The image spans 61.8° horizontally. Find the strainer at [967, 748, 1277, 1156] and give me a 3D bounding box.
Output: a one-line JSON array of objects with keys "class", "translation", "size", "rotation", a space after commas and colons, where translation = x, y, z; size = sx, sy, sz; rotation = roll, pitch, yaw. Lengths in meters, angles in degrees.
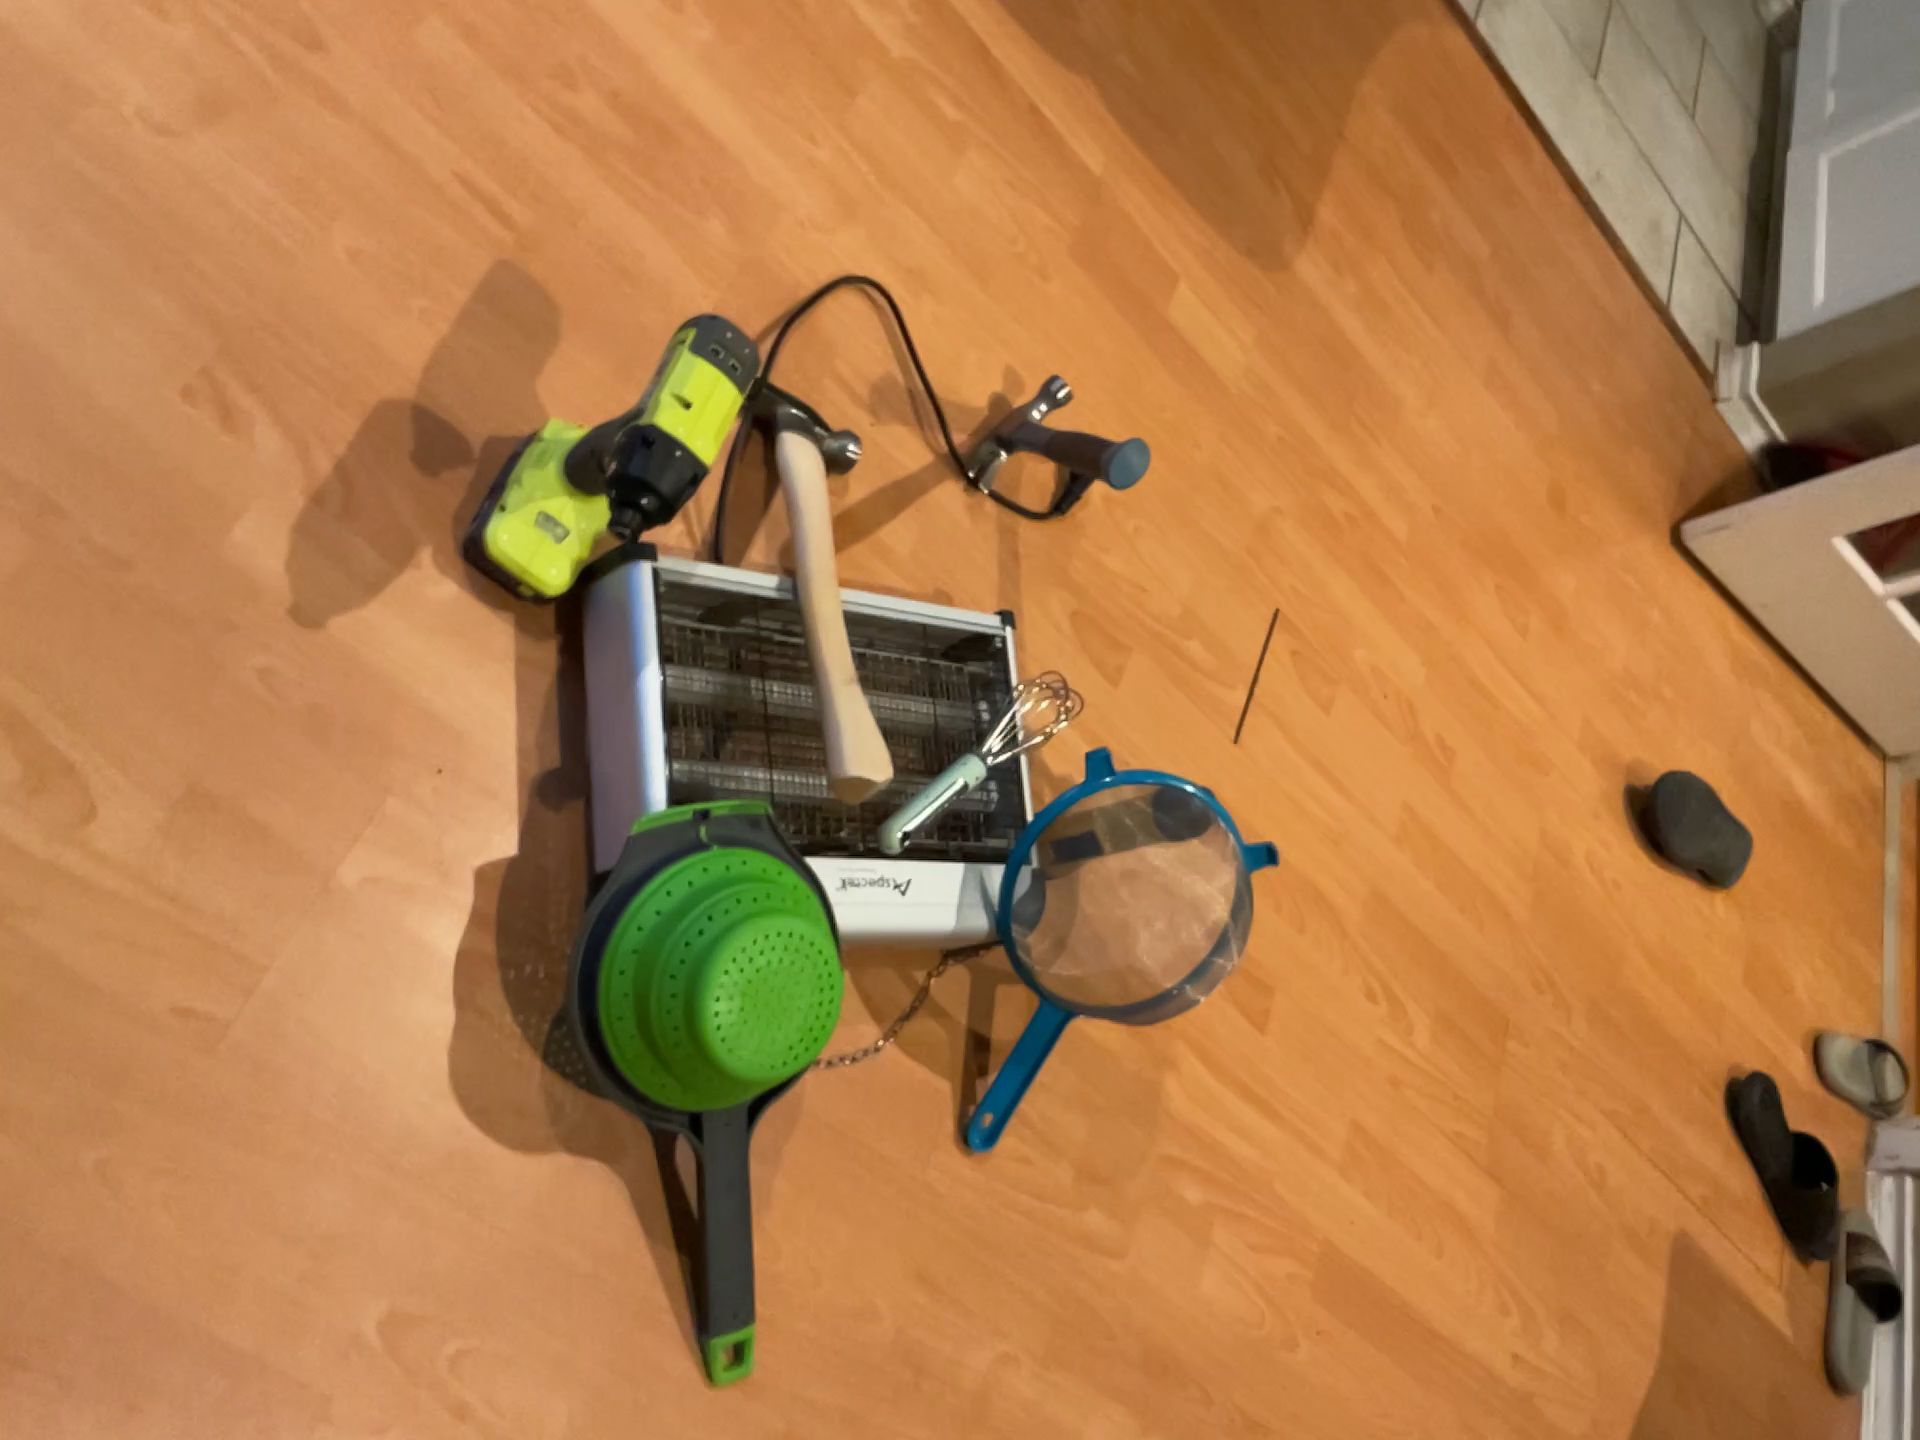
[{"class": "strainer", "translation": [0.109, 0.206, 1.242], "size": [0.211, 0.095, 0.340], "rotation": [29, 94, -21]}]

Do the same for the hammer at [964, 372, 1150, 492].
[{"class": "hammer", "translation": [0.087, -0.235, 1.360], "size": [0.128, 0.331, 0.033], "rotation": [-42, 111, -1]}]

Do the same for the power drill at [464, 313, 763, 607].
[{"class": "power drill", "translation": [-0.236, -0.163, 1.074], "size": [0.080, 0.223, 0.171], "rotation": [38, 54, -28]}]

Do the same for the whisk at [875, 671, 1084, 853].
[{"class": "whisk", "translation": [0.016, 0.033, 1.258], "size": [0.246, 0.059, 0.057], "rotation": [-39, 133, -40]}]

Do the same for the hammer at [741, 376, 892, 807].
[{"class": "hammer", "translation": [-0.115, -0.108, 1.193], "size": [0.146, 0.038, 0.411], "rotation": [25, 37, -36]}]

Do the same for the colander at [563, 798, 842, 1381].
[{"class": "colander", "translation": [-0.142, 0.254, 1.053], "size": [0.205, 0.094, 0.396], "rotation": [-6, 97, -37]}]
